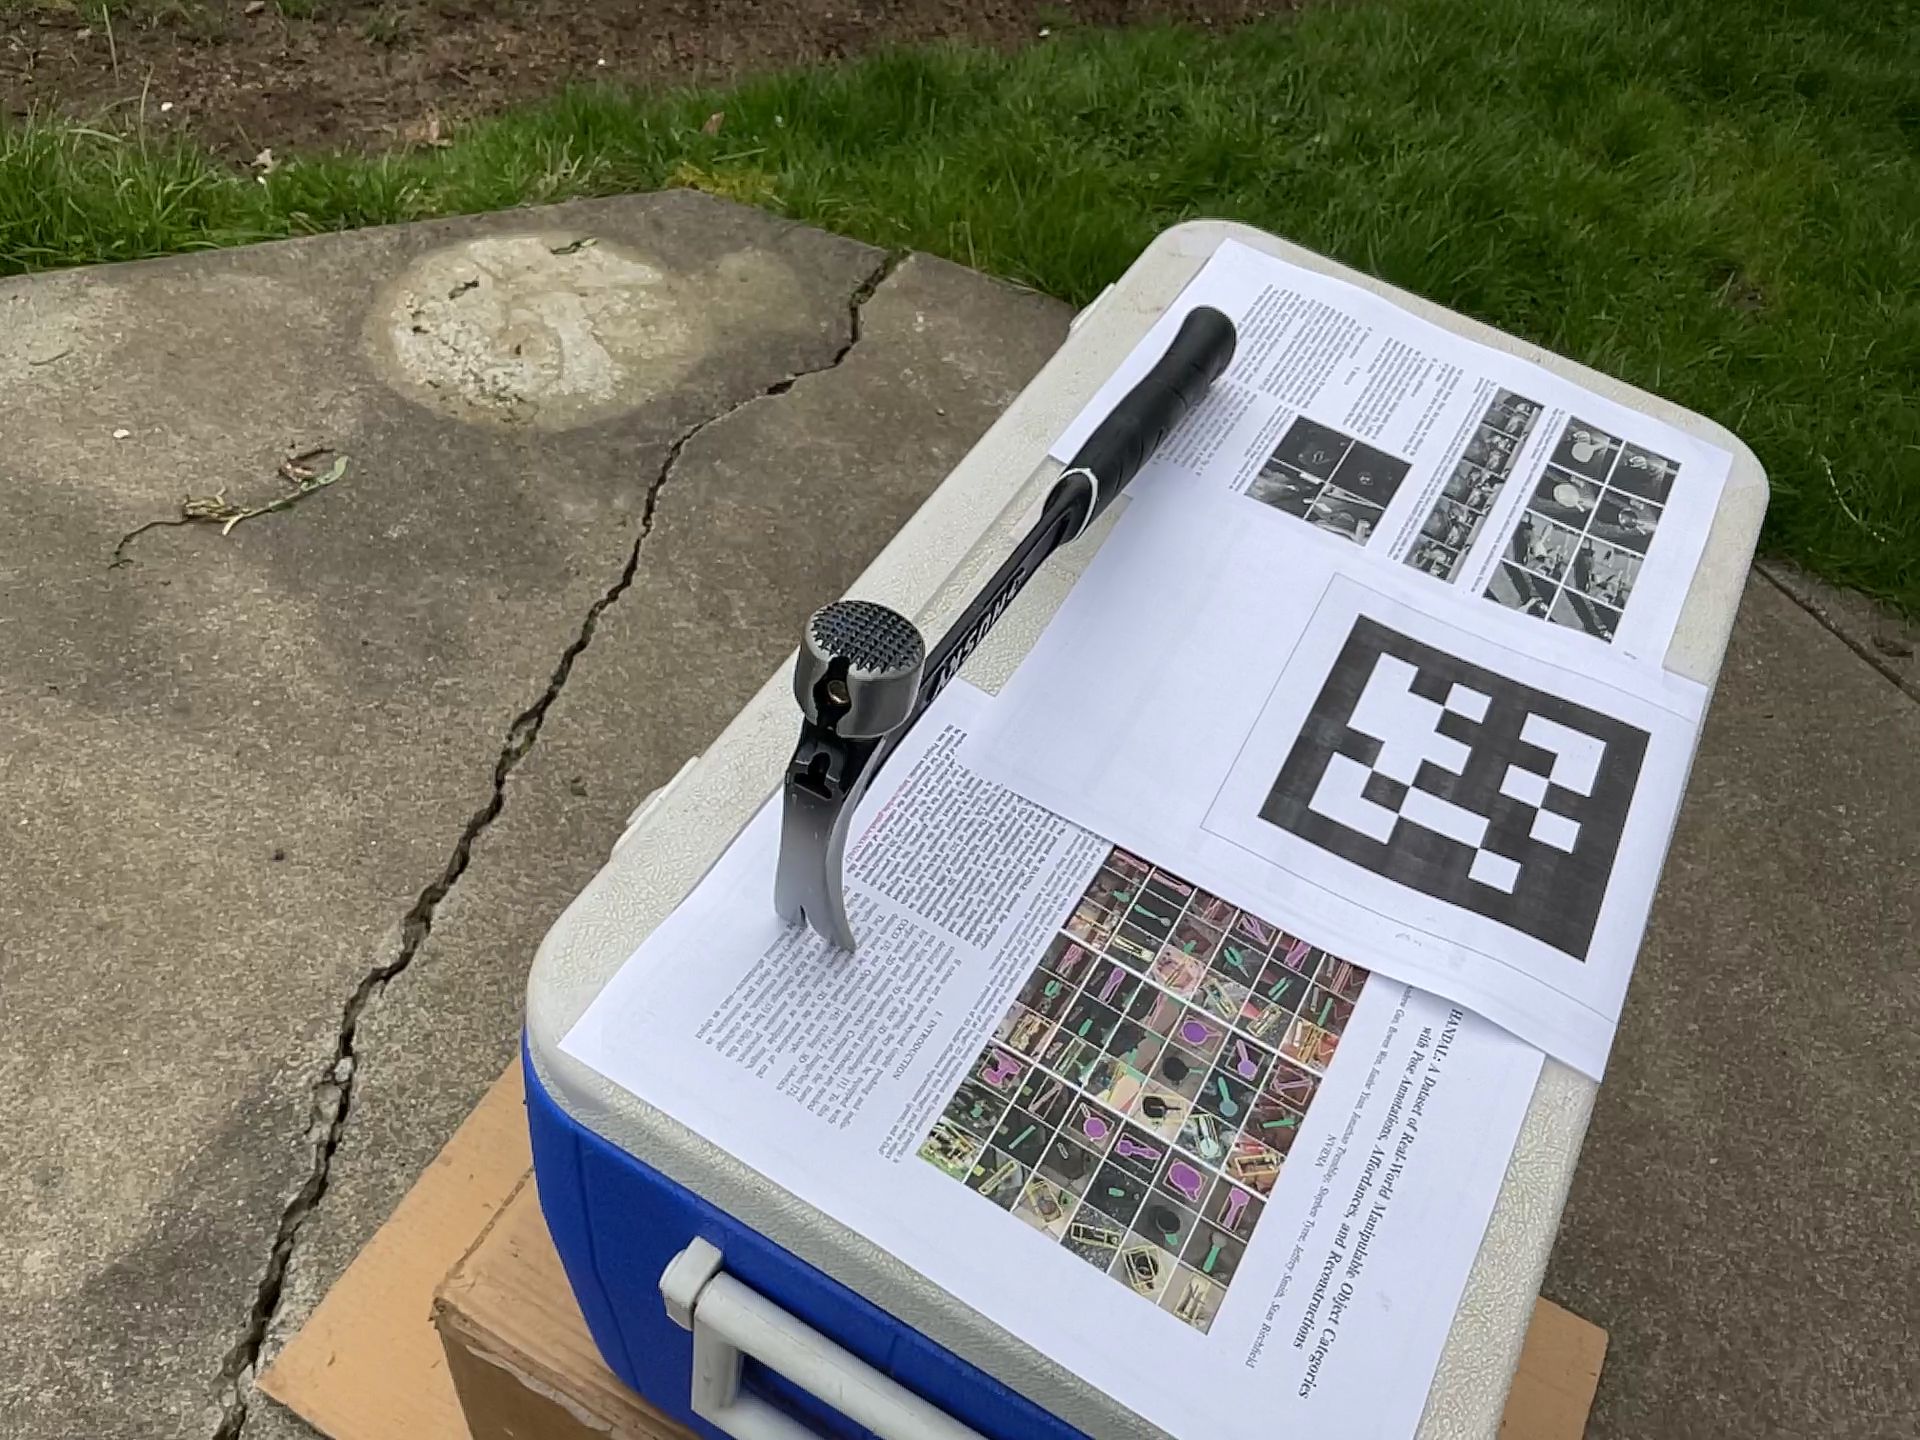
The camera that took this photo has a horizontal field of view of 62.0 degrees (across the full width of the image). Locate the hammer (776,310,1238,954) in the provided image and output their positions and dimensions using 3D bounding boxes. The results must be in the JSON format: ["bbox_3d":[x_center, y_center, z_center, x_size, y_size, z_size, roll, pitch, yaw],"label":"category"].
[{"bbox_3d":[0.037,-0.070,0.634,0.036,0.149,0.409,26,41,11],"label":"hammer"}]
